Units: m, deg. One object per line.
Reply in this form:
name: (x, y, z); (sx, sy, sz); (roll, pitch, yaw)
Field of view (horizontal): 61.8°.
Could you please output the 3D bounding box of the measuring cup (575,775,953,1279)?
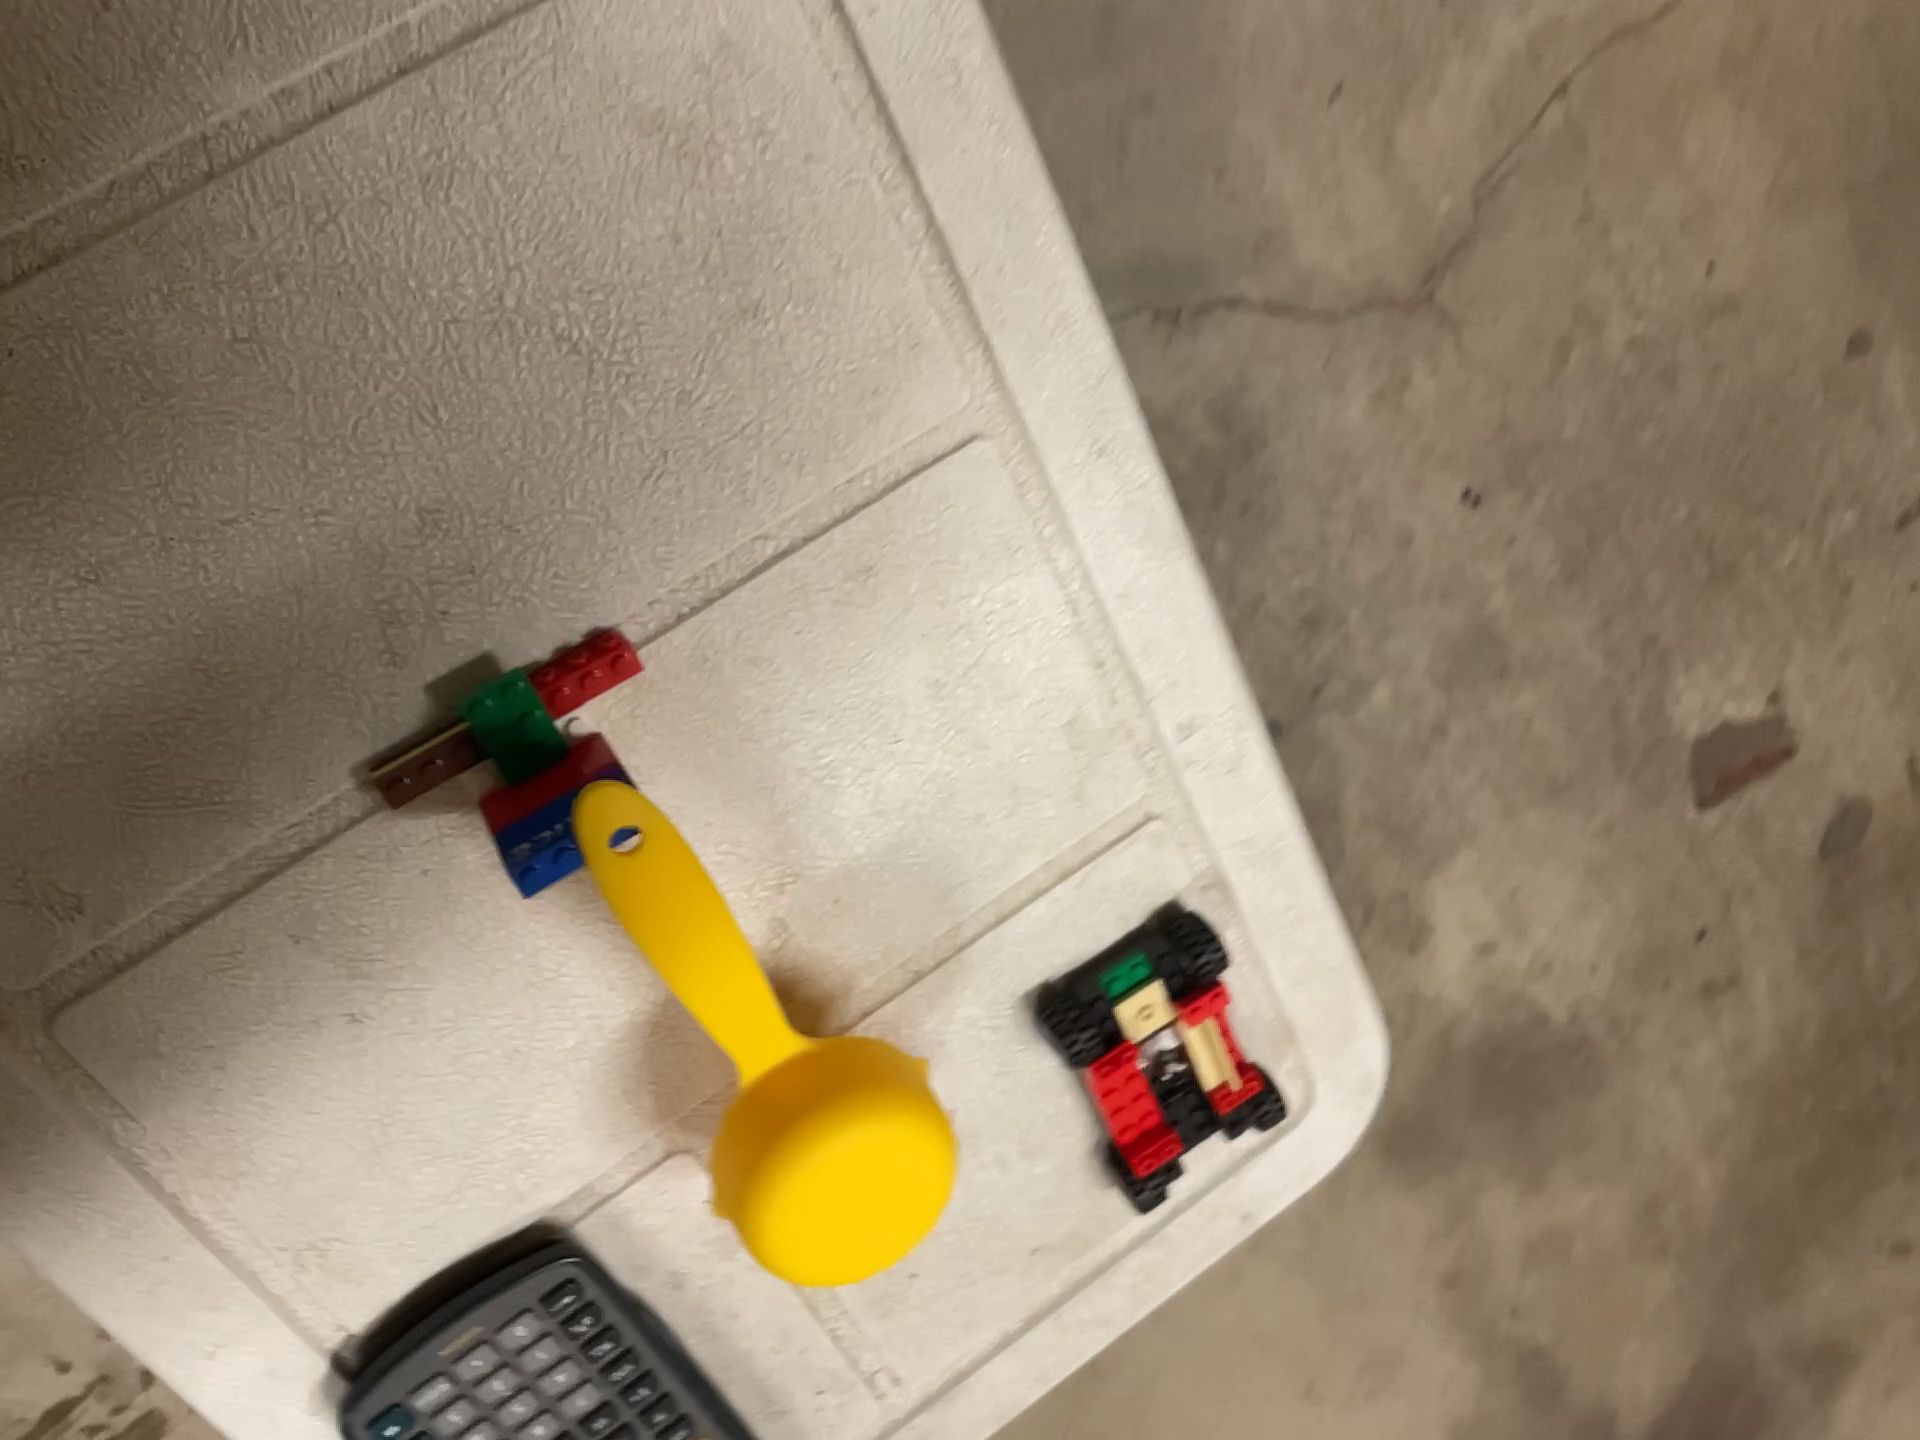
measuring cup: (-0.046, 0.075, 0.371); (0.062, 0.029, 0.156); (-33, 126, -11)
